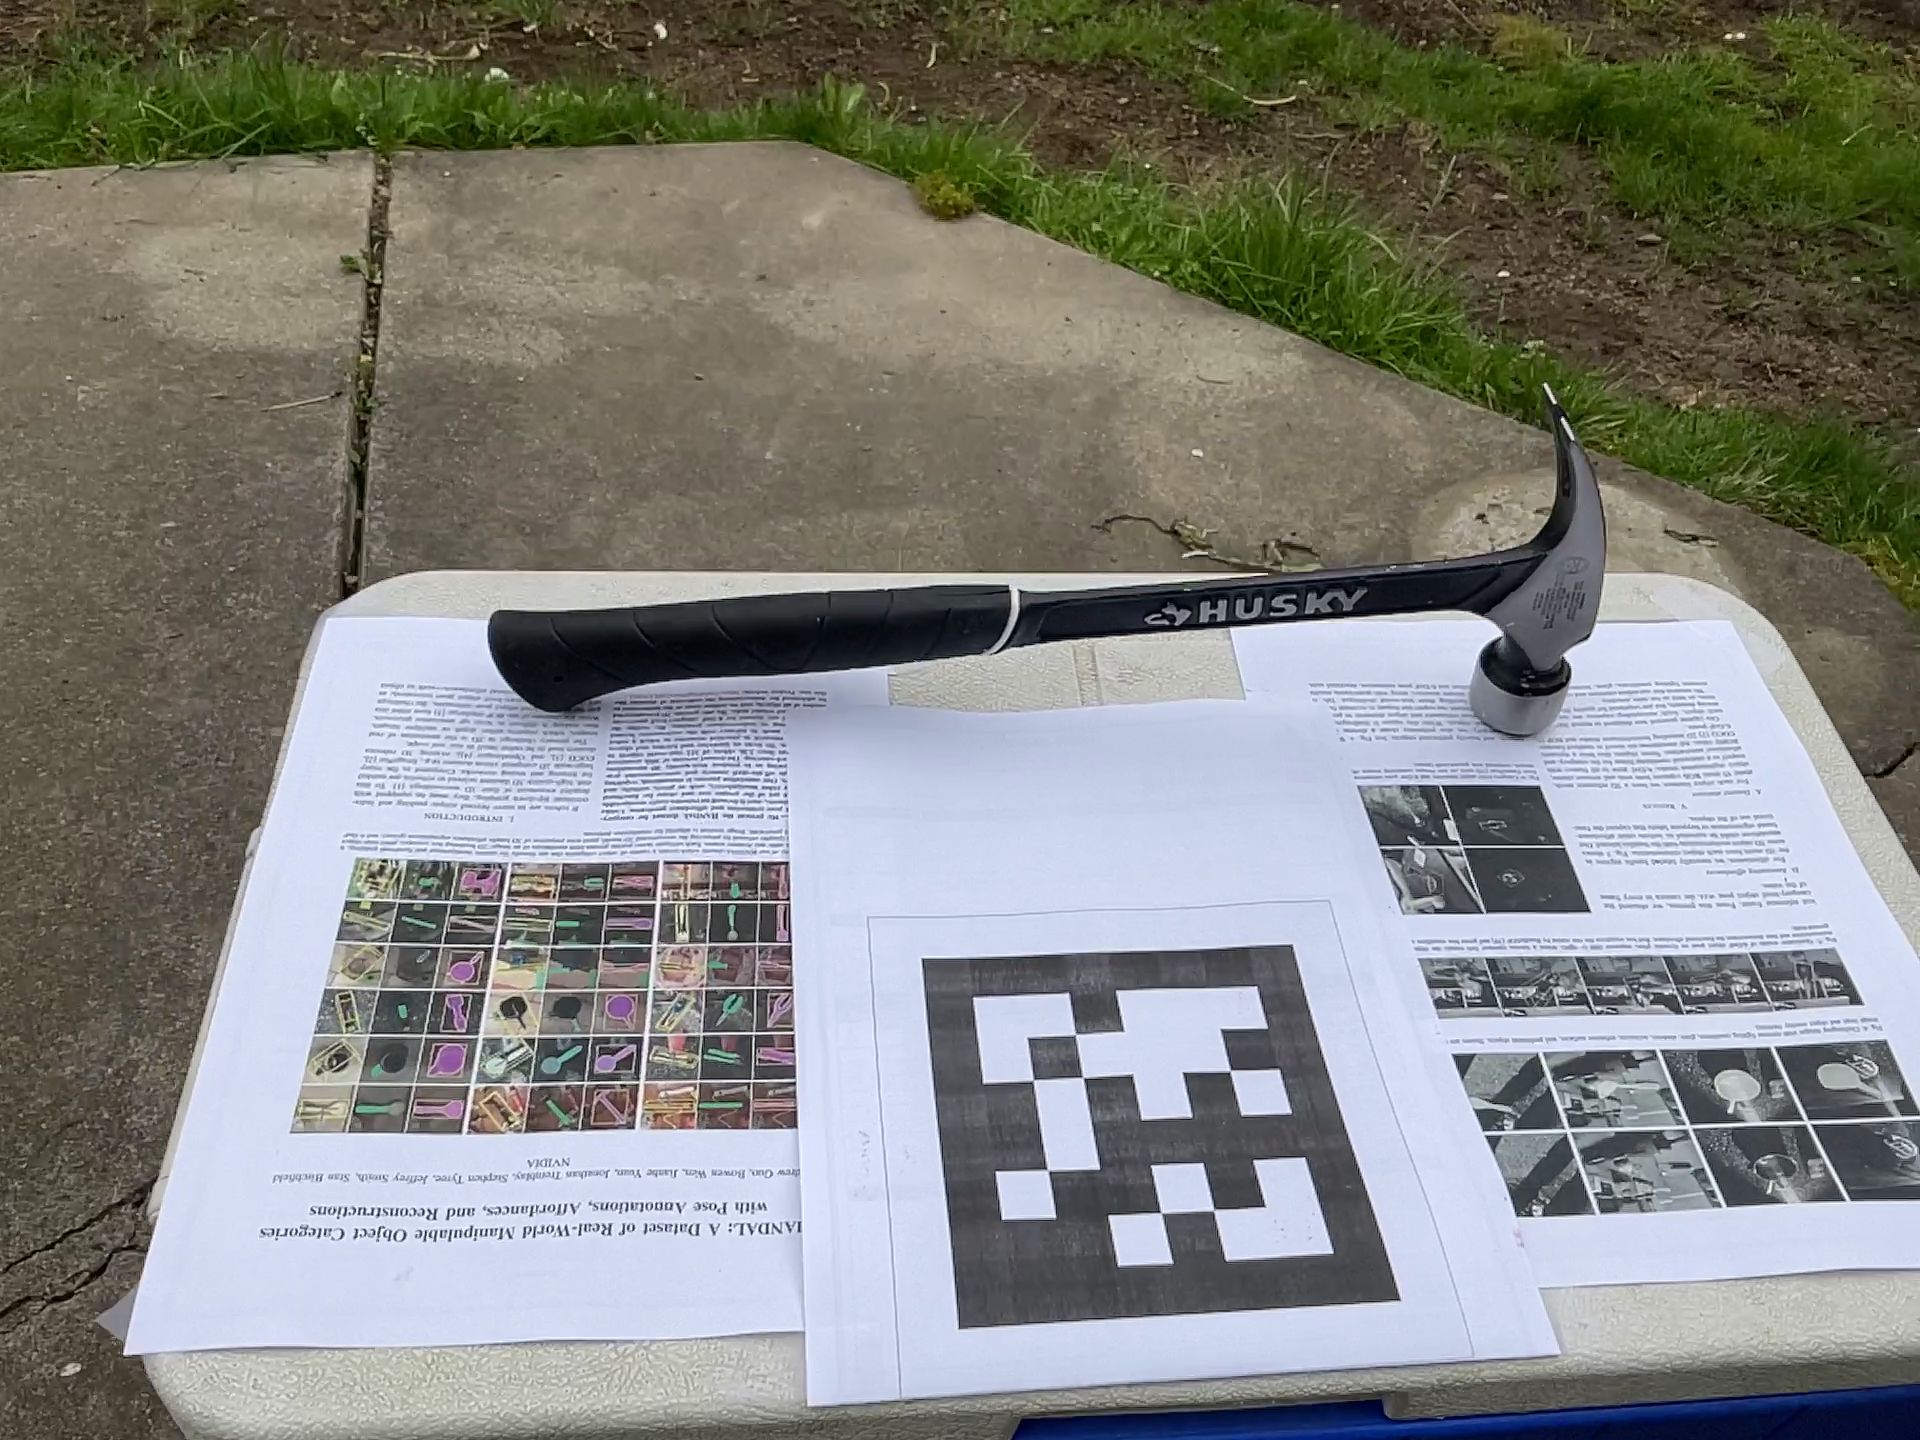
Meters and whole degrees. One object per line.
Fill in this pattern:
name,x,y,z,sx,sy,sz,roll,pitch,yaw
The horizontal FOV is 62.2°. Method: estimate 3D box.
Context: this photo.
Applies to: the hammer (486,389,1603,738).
hammer,0.033,-0.040,0.586,0.408,0.149,0.036,-4,48,-1
